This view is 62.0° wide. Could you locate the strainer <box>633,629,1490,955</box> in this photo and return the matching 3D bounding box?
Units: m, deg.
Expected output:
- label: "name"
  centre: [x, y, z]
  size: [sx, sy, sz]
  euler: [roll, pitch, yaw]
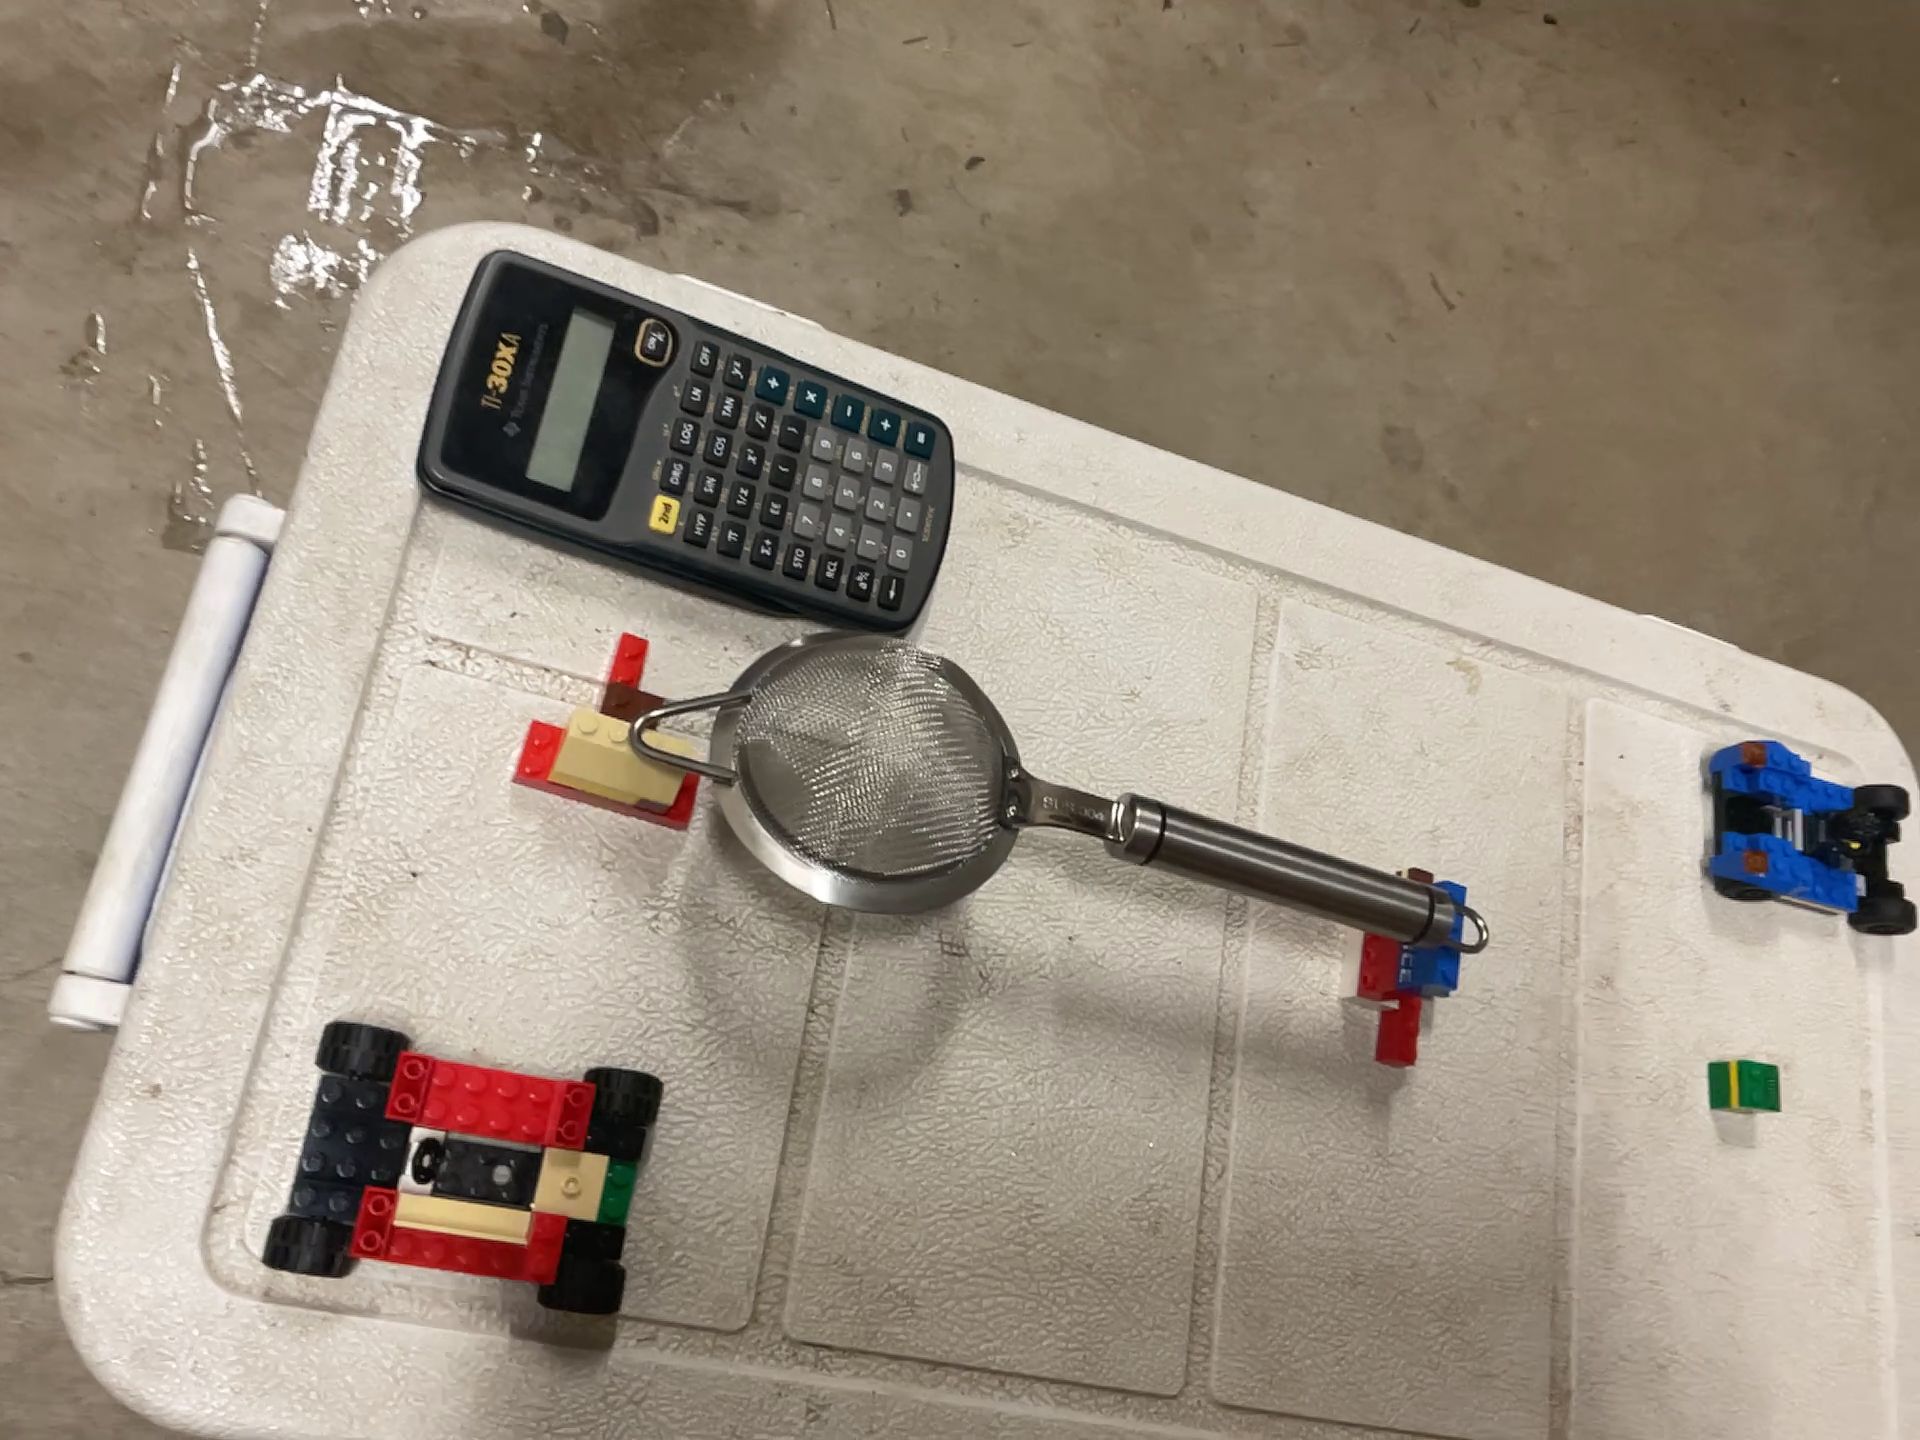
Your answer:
- label: "strainer"
  centre: [0.042, 0.026, 0.436]
  size: [0.258, 0.050, 0.087]
  euler: [18, 53, -19]
